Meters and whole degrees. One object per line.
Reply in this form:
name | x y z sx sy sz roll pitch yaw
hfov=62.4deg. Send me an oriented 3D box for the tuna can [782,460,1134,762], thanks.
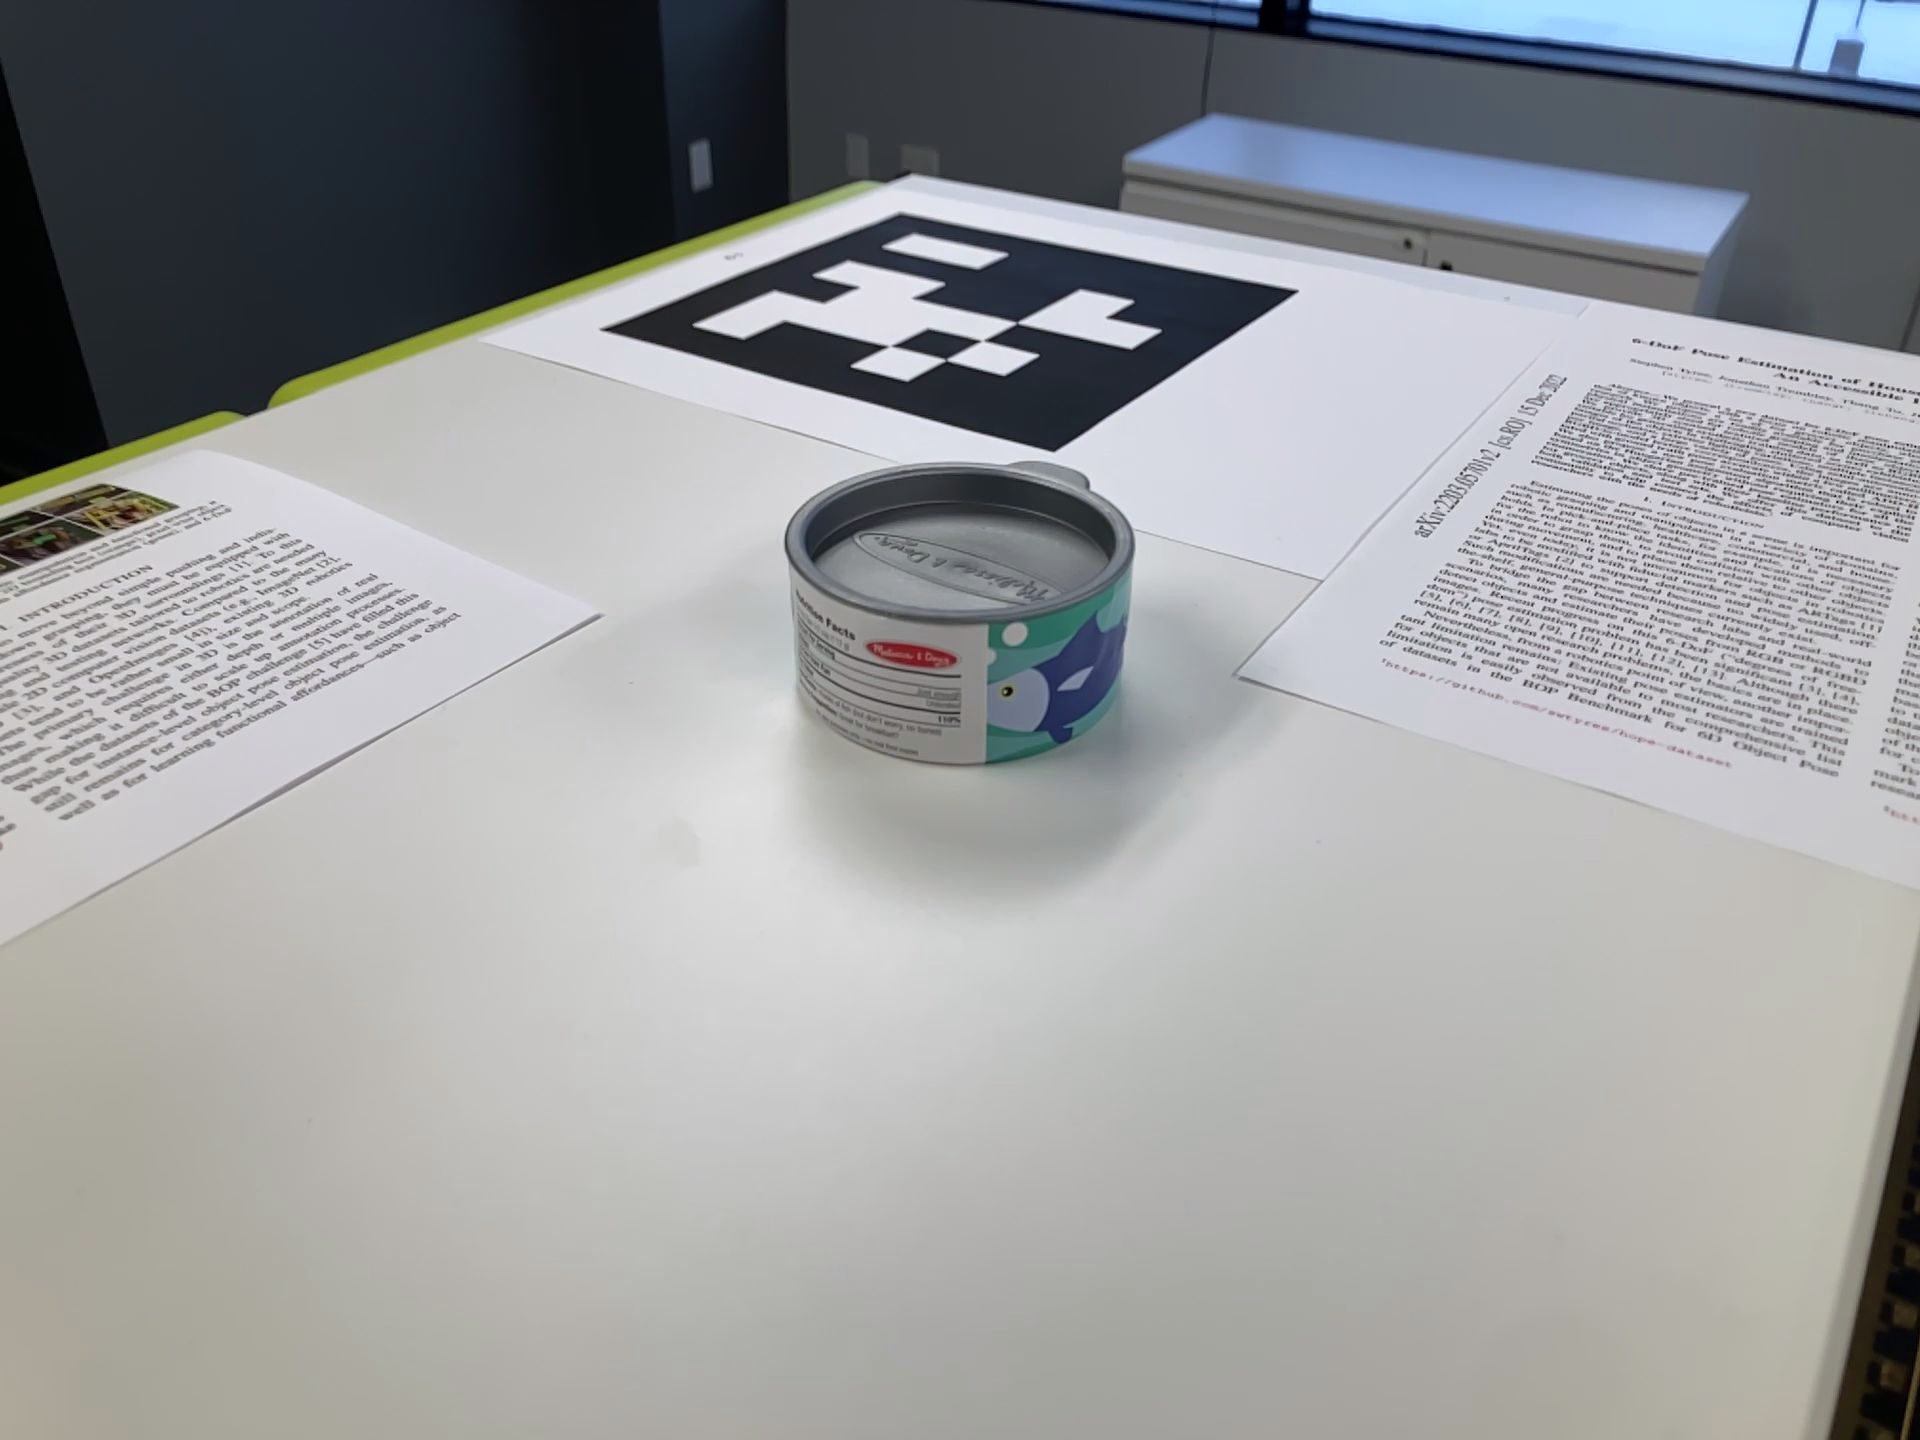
tuna can | 0.001 -0.024 0.308 0.071 0.033 0.071 0 32 0
